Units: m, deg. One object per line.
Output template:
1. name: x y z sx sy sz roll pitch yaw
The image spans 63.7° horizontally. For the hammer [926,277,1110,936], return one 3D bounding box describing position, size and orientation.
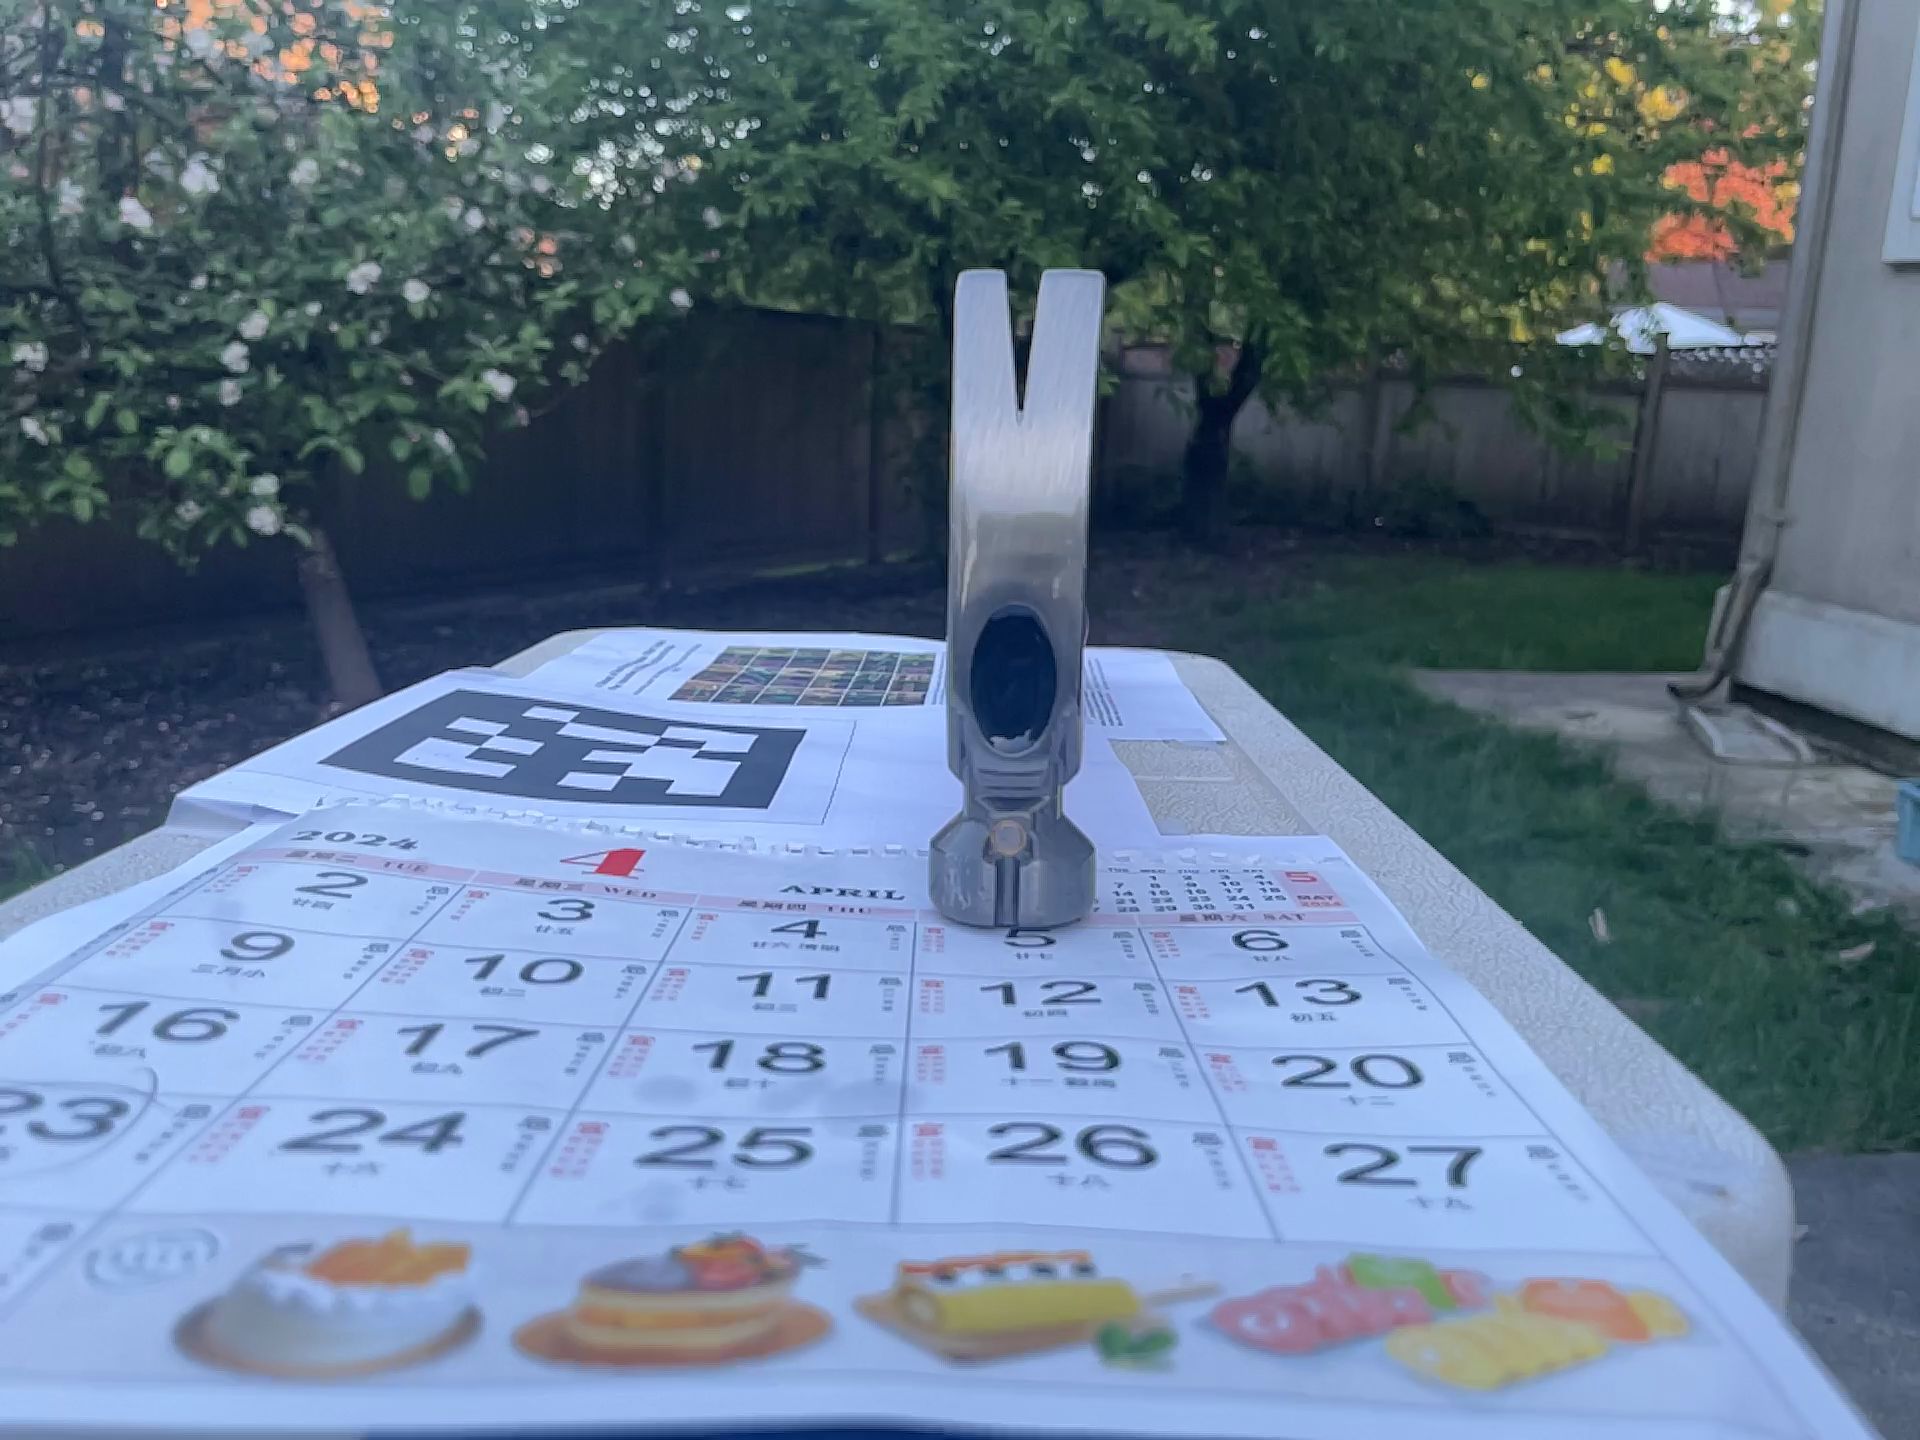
1. hammer: 0.027 -0.044 0.517 0.038 0.143 0.386 2 6 4
